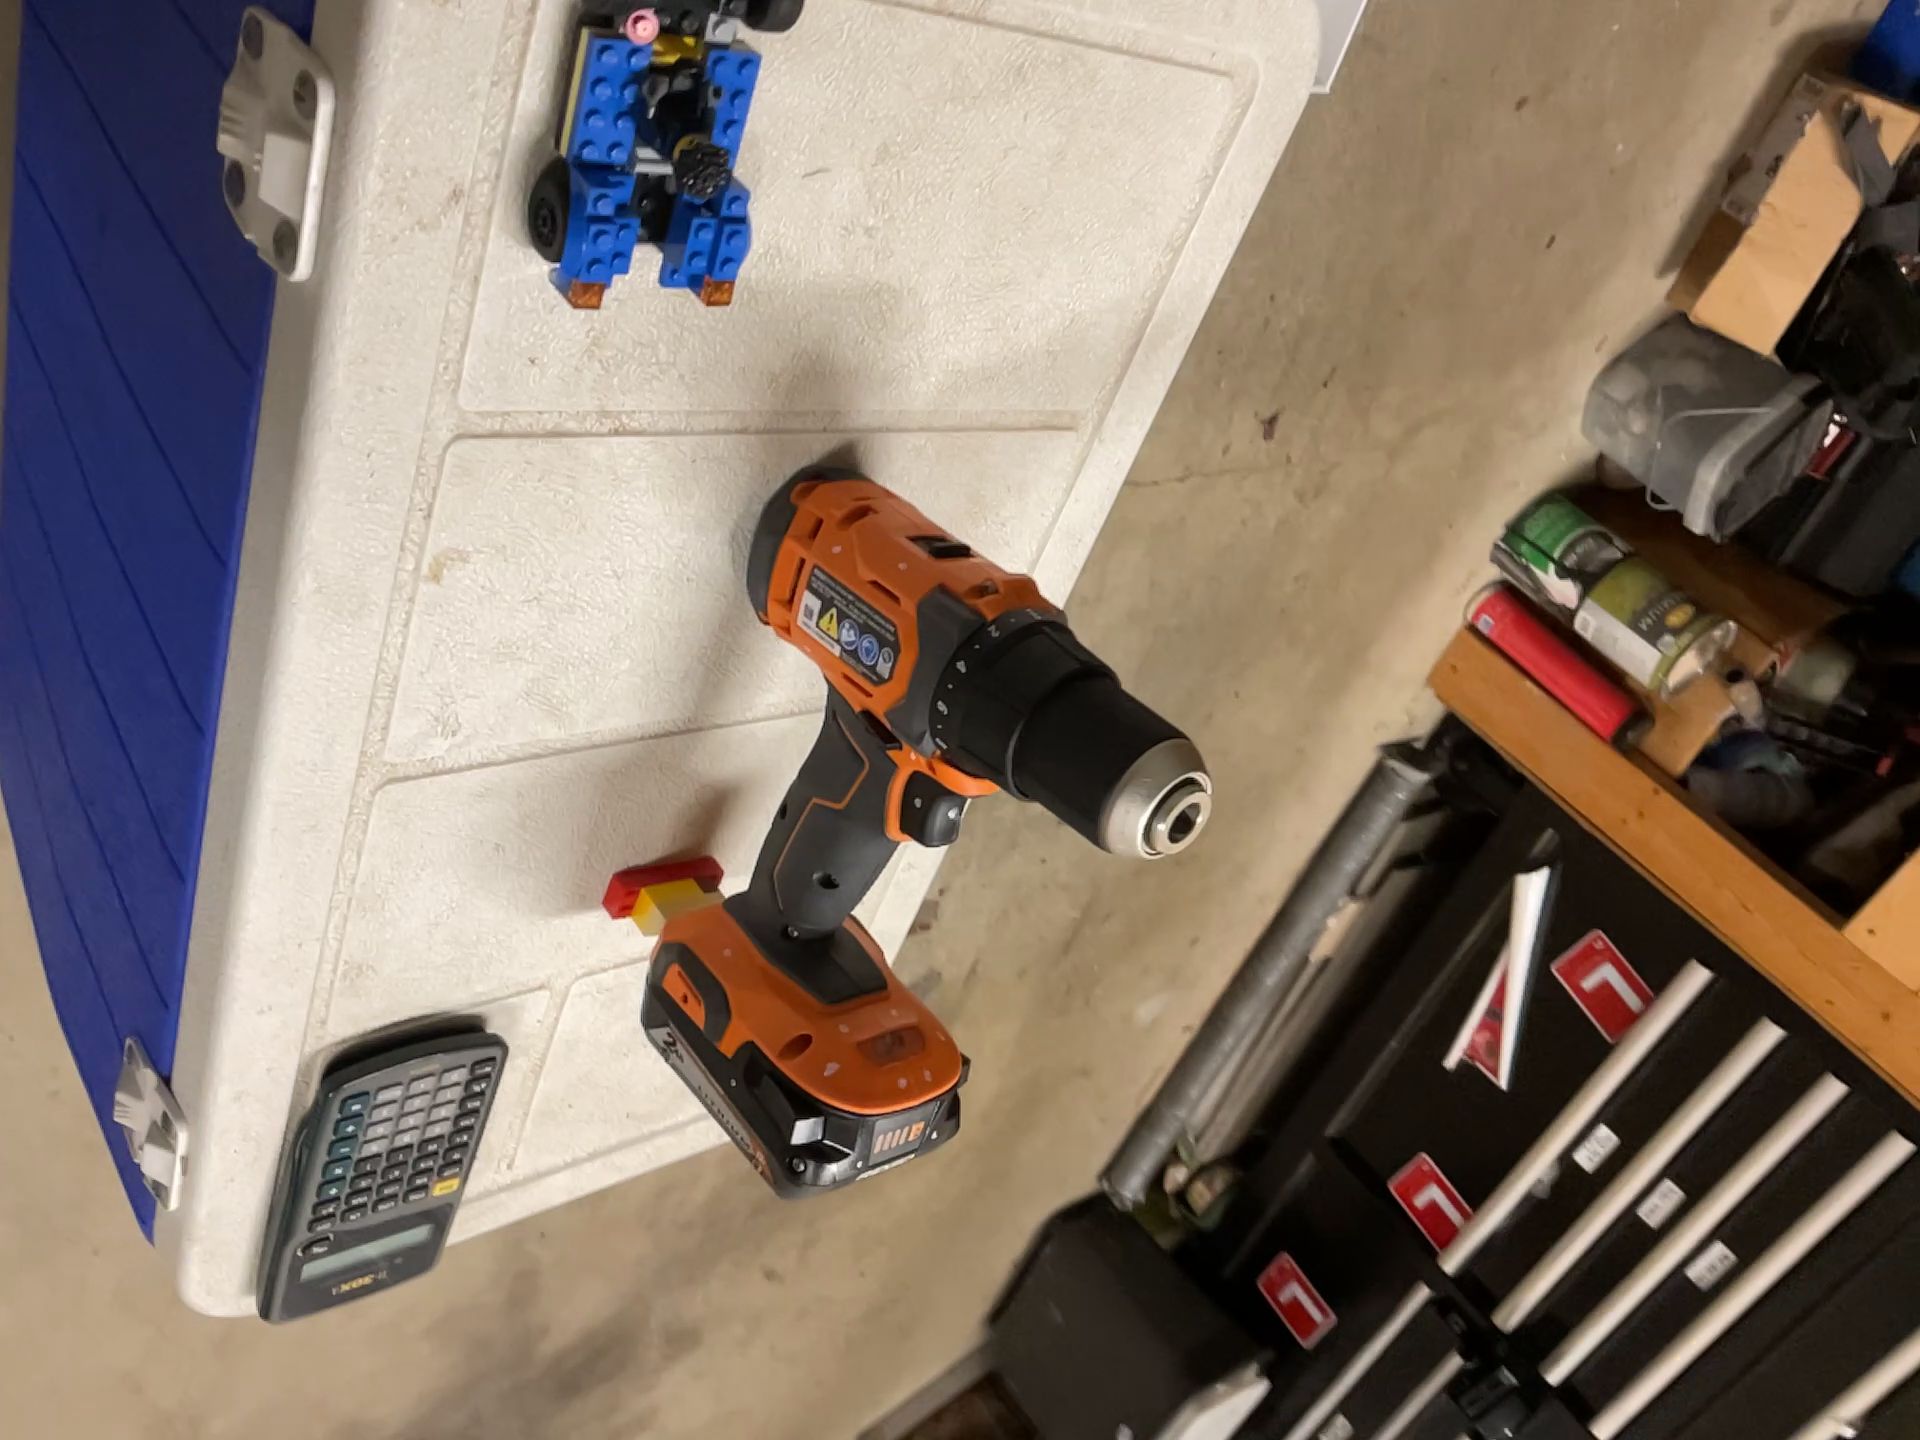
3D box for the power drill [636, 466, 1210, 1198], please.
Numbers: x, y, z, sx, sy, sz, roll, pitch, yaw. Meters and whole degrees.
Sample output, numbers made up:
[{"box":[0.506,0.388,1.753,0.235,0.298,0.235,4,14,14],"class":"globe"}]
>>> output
[{"box":[-0.019,0.052,0.537,0.084,0.185,0.226,-8,125,-45],"class":"power drill"}]
